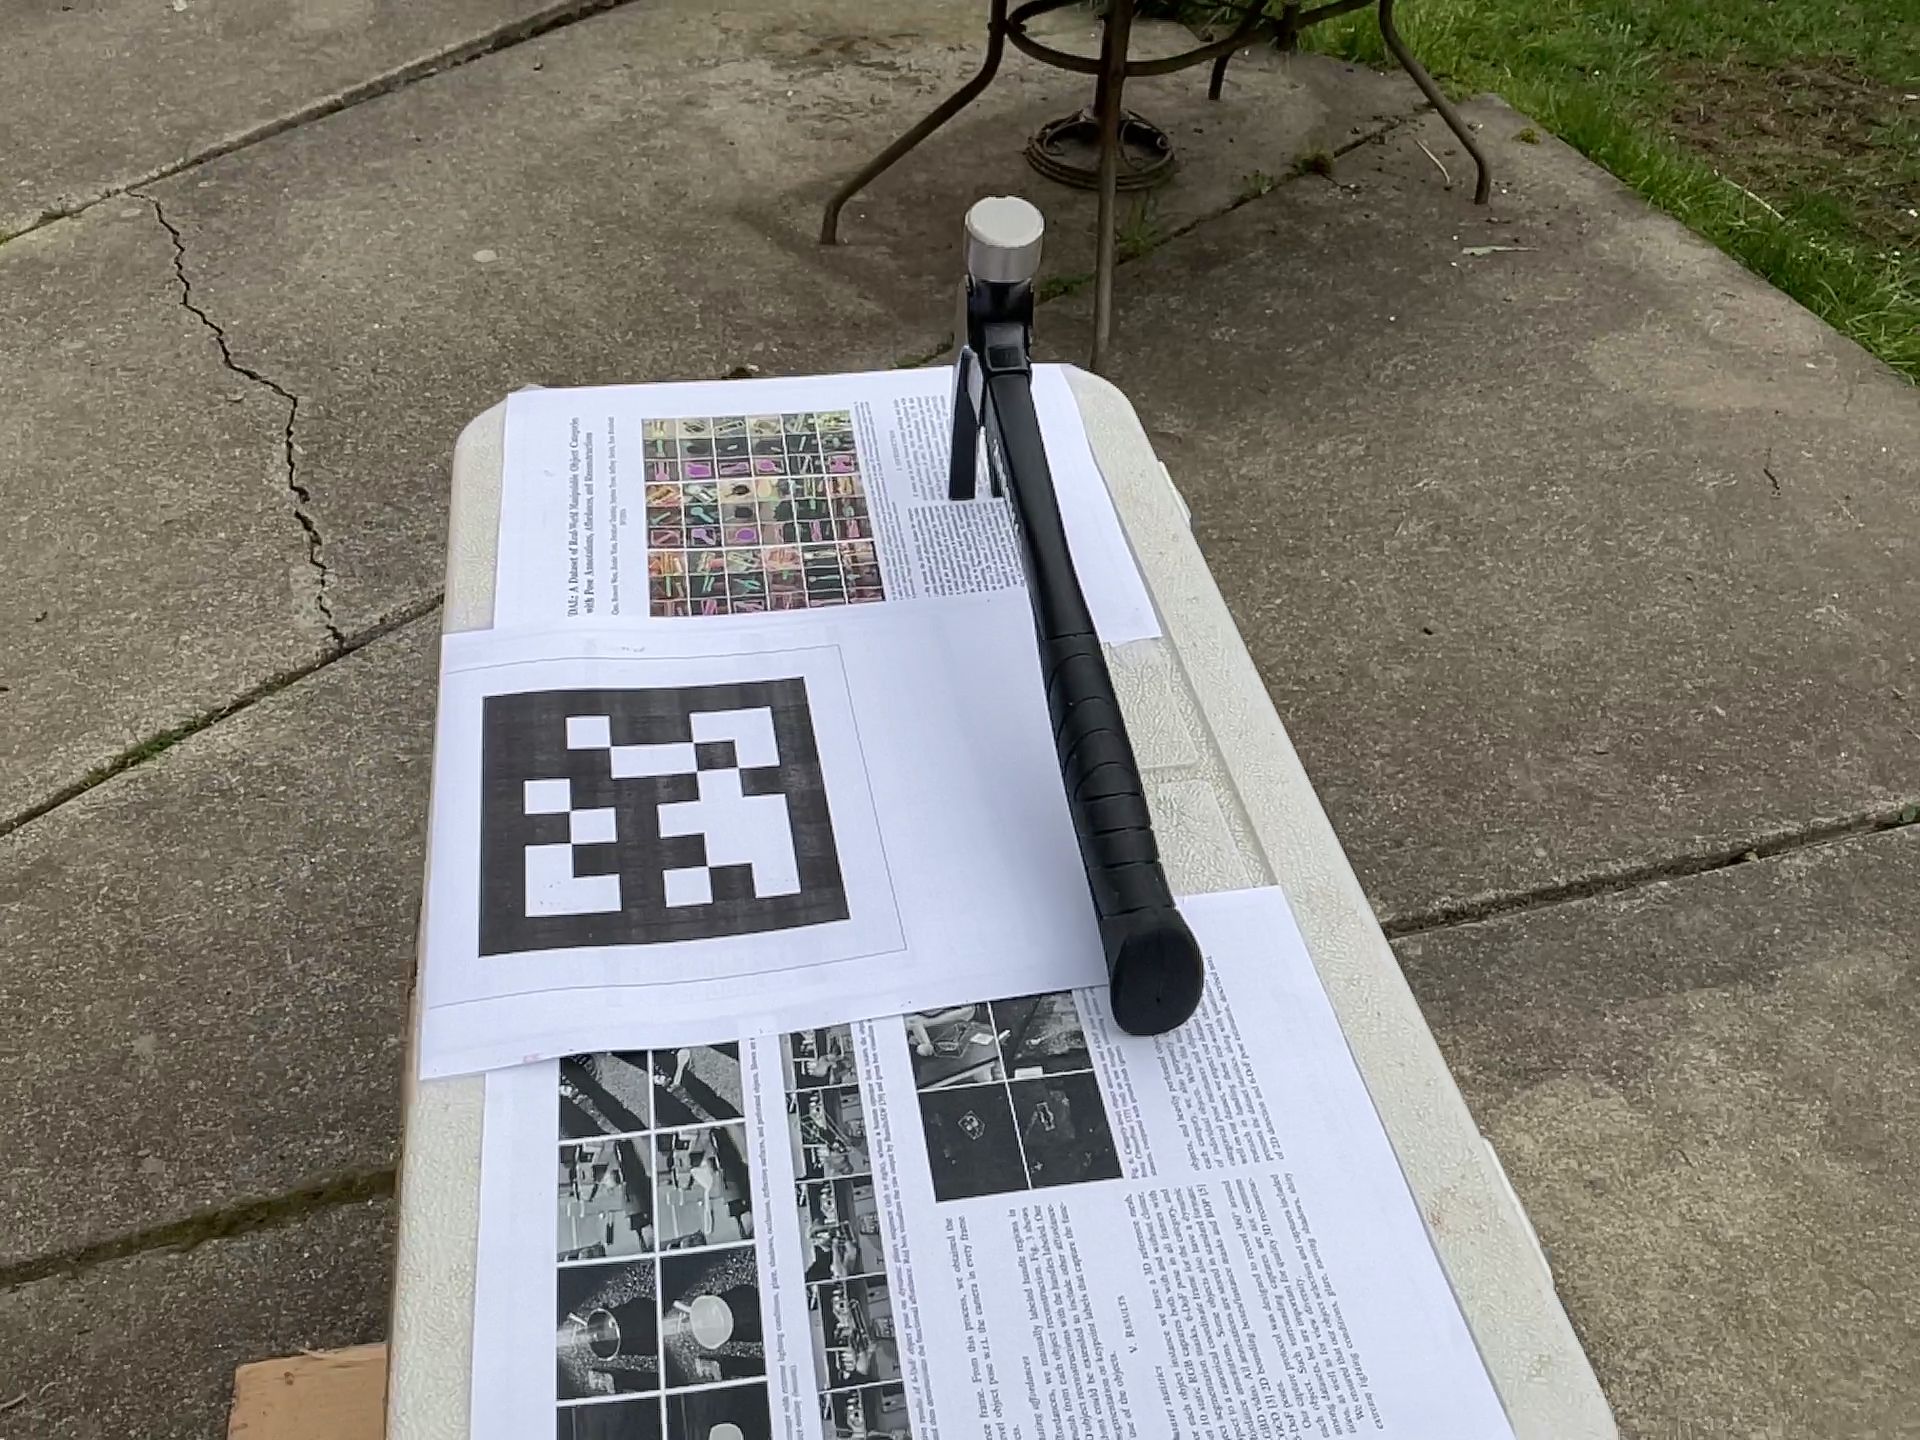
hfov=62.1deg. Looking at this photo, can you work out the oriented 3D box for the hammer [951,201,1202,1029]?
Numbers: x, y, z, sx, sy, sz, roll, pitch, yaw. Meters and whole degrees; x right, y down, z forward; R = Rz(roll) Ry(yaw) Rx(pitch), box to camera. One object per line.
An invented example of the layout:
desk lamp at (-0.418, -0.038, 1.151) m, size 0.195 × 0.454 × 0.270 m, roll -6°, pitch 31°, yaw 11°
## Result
hammer at (0.039, -0.038, 0.625) m, size 0.035 × 0.146 × 0.335 m, roll -6°, pitch 56°, yaw -8°
